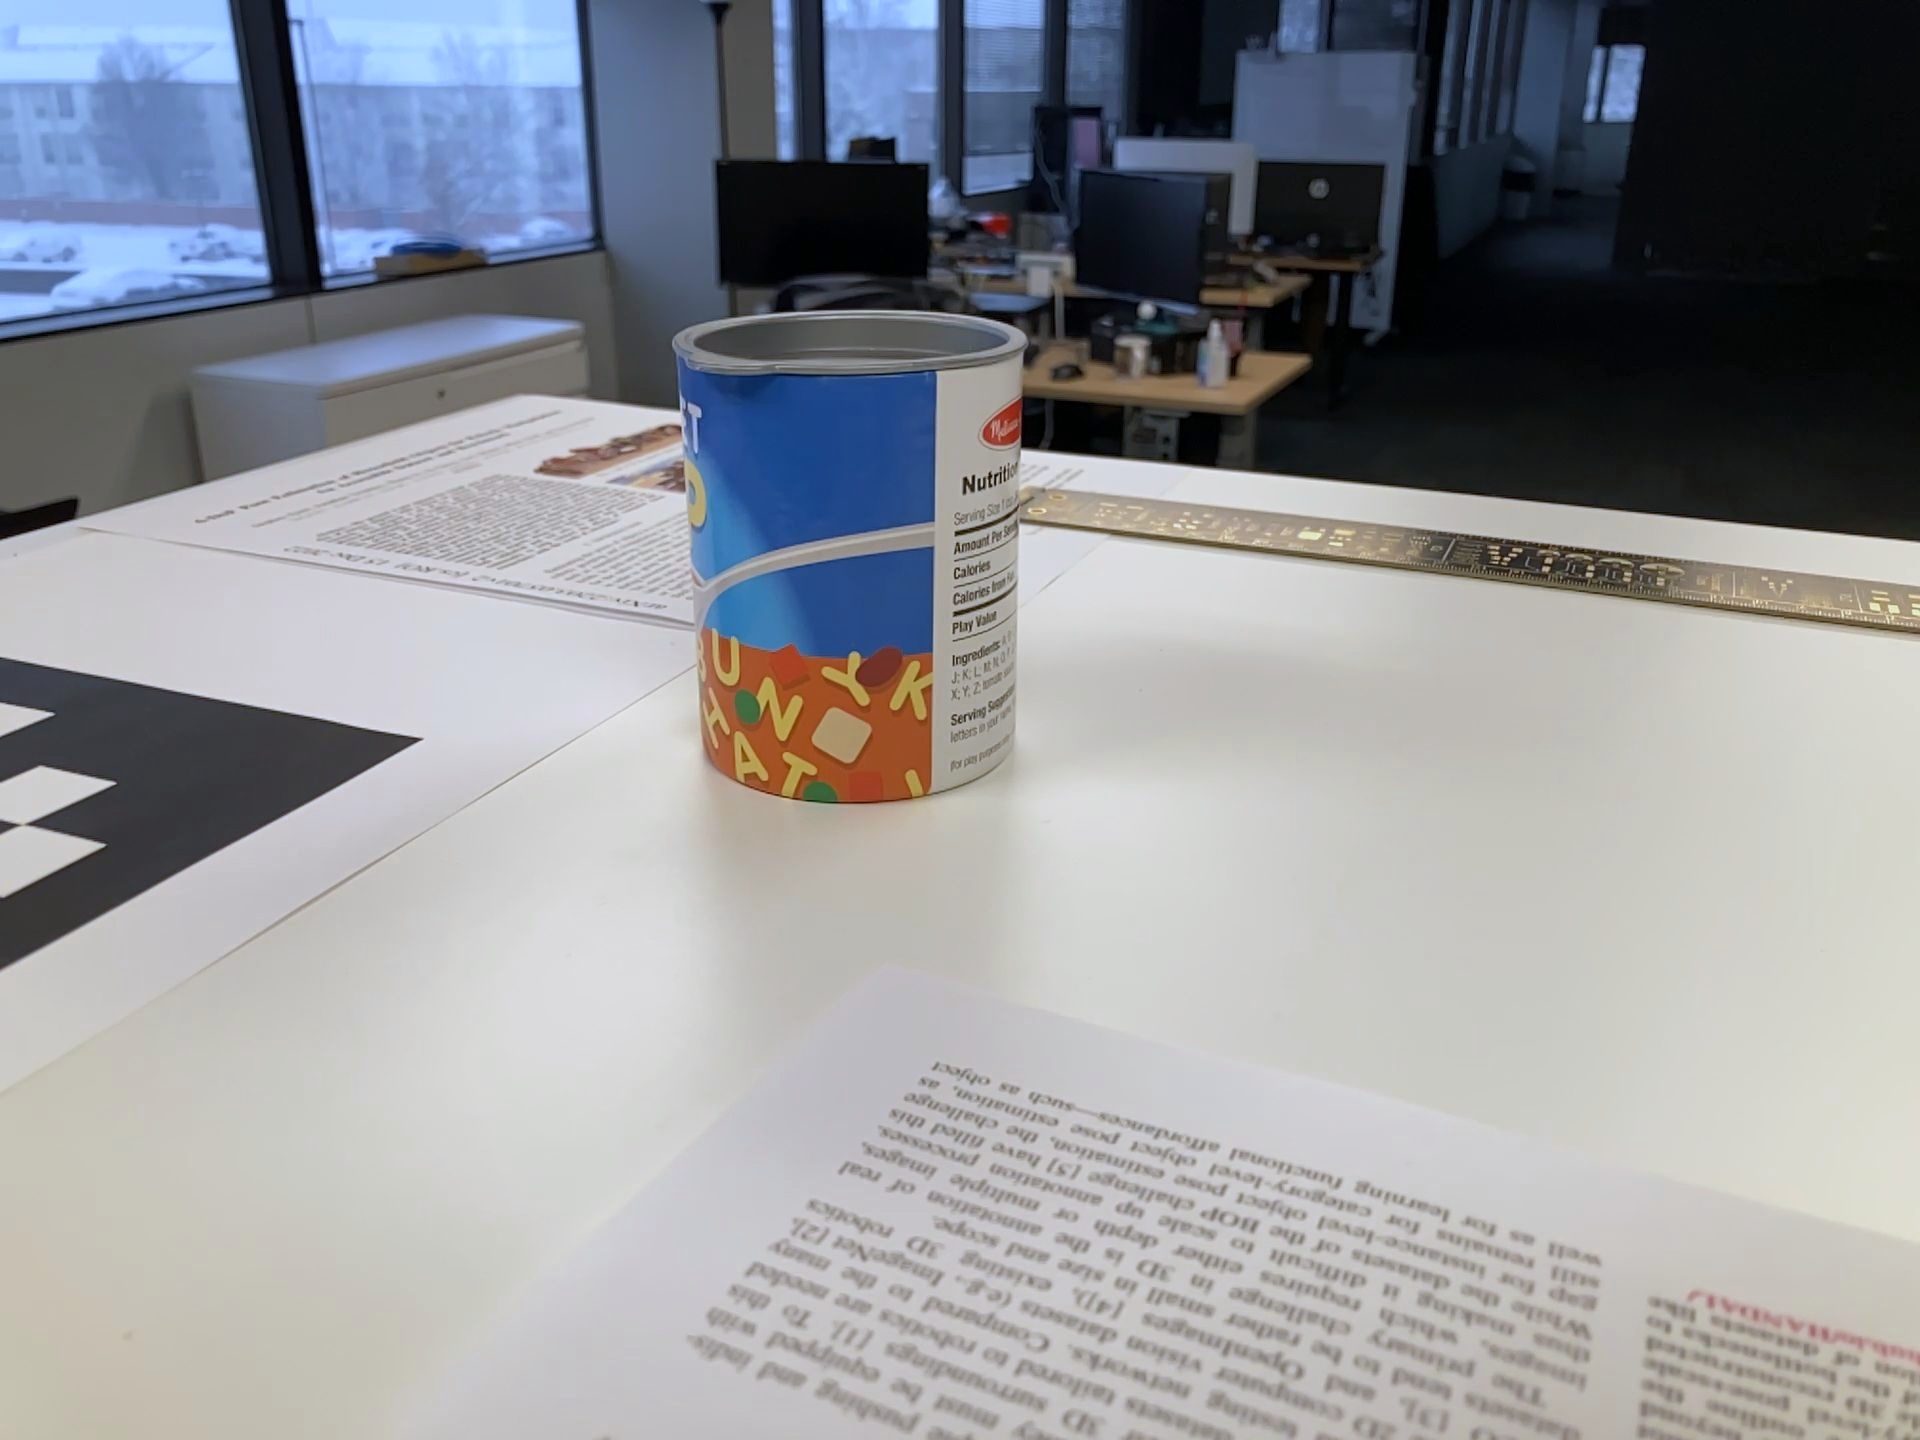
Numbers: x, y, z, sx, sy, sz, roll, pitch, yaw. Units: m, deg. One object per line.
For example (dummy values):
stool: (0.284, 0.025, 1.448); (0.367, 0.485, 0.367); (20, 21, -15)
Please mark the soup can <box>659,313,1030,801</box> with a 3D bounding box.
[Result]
soup can: (-0.023, -0.035, 0.316); (0.071, 0.084, 0.071); (1, 21, 0)
